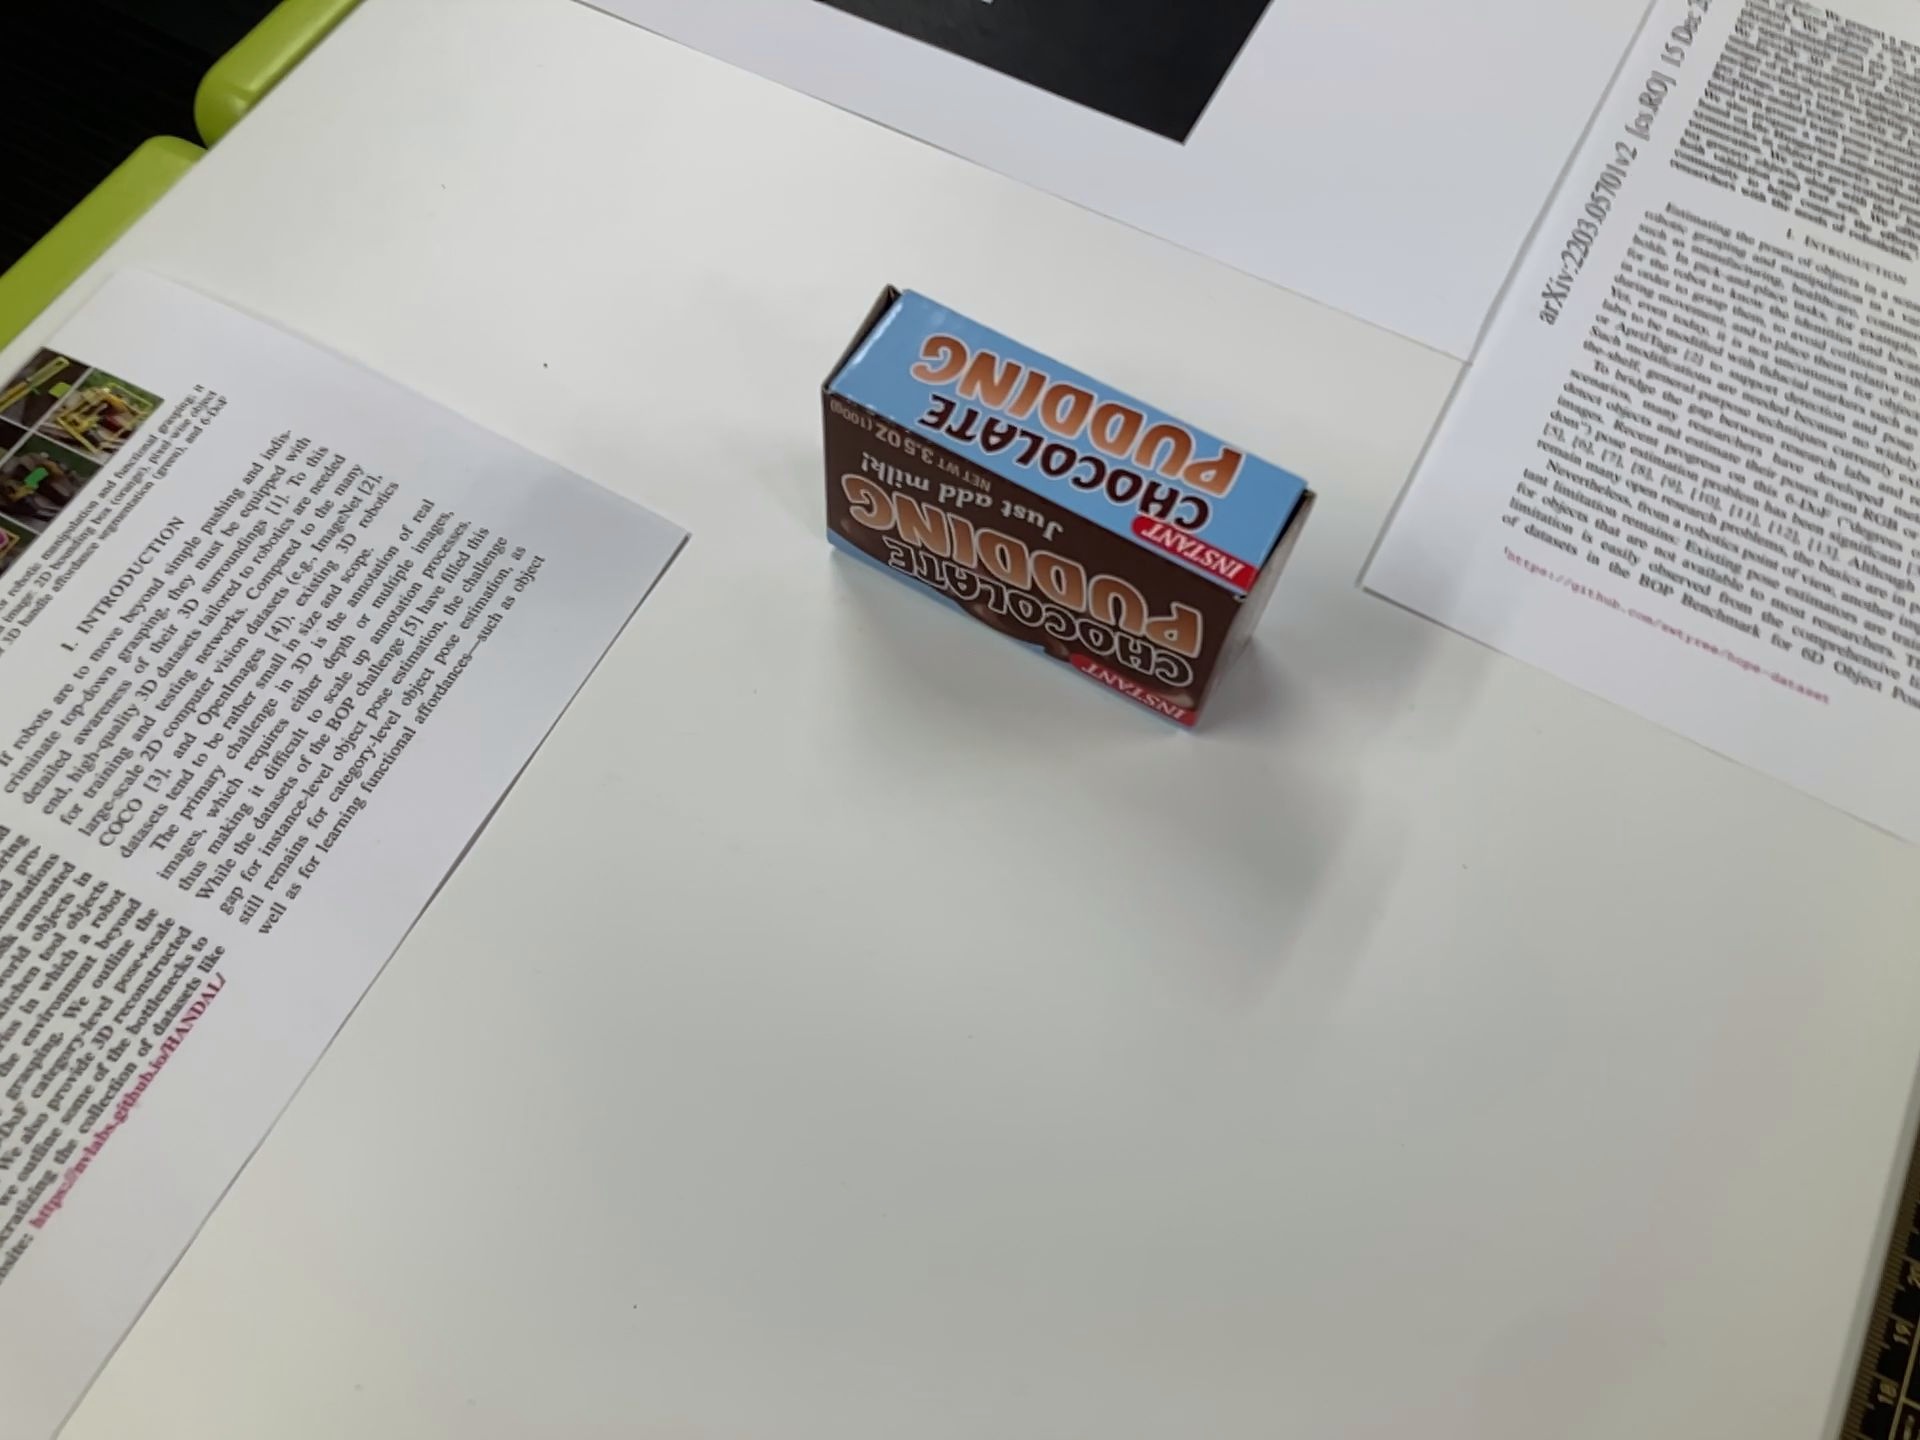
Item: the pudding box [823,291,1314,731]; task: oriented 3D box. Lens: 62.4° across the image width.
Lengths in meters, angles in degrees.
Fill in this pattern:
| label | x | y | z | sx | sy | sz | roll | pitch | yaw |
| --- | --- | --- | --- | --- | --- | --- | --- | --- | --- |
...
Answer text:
| label | x | y | z | sx | sy | sz | roll | pitch | yaw |
| --- | --- | --- | --- | --- | --- | --- | --- | --- | --- |
| pudding box | 0.017 | -0.038 | 0.293 | 0.083 | 0.049 | 0.030 | 28 | 64 | 11 |
